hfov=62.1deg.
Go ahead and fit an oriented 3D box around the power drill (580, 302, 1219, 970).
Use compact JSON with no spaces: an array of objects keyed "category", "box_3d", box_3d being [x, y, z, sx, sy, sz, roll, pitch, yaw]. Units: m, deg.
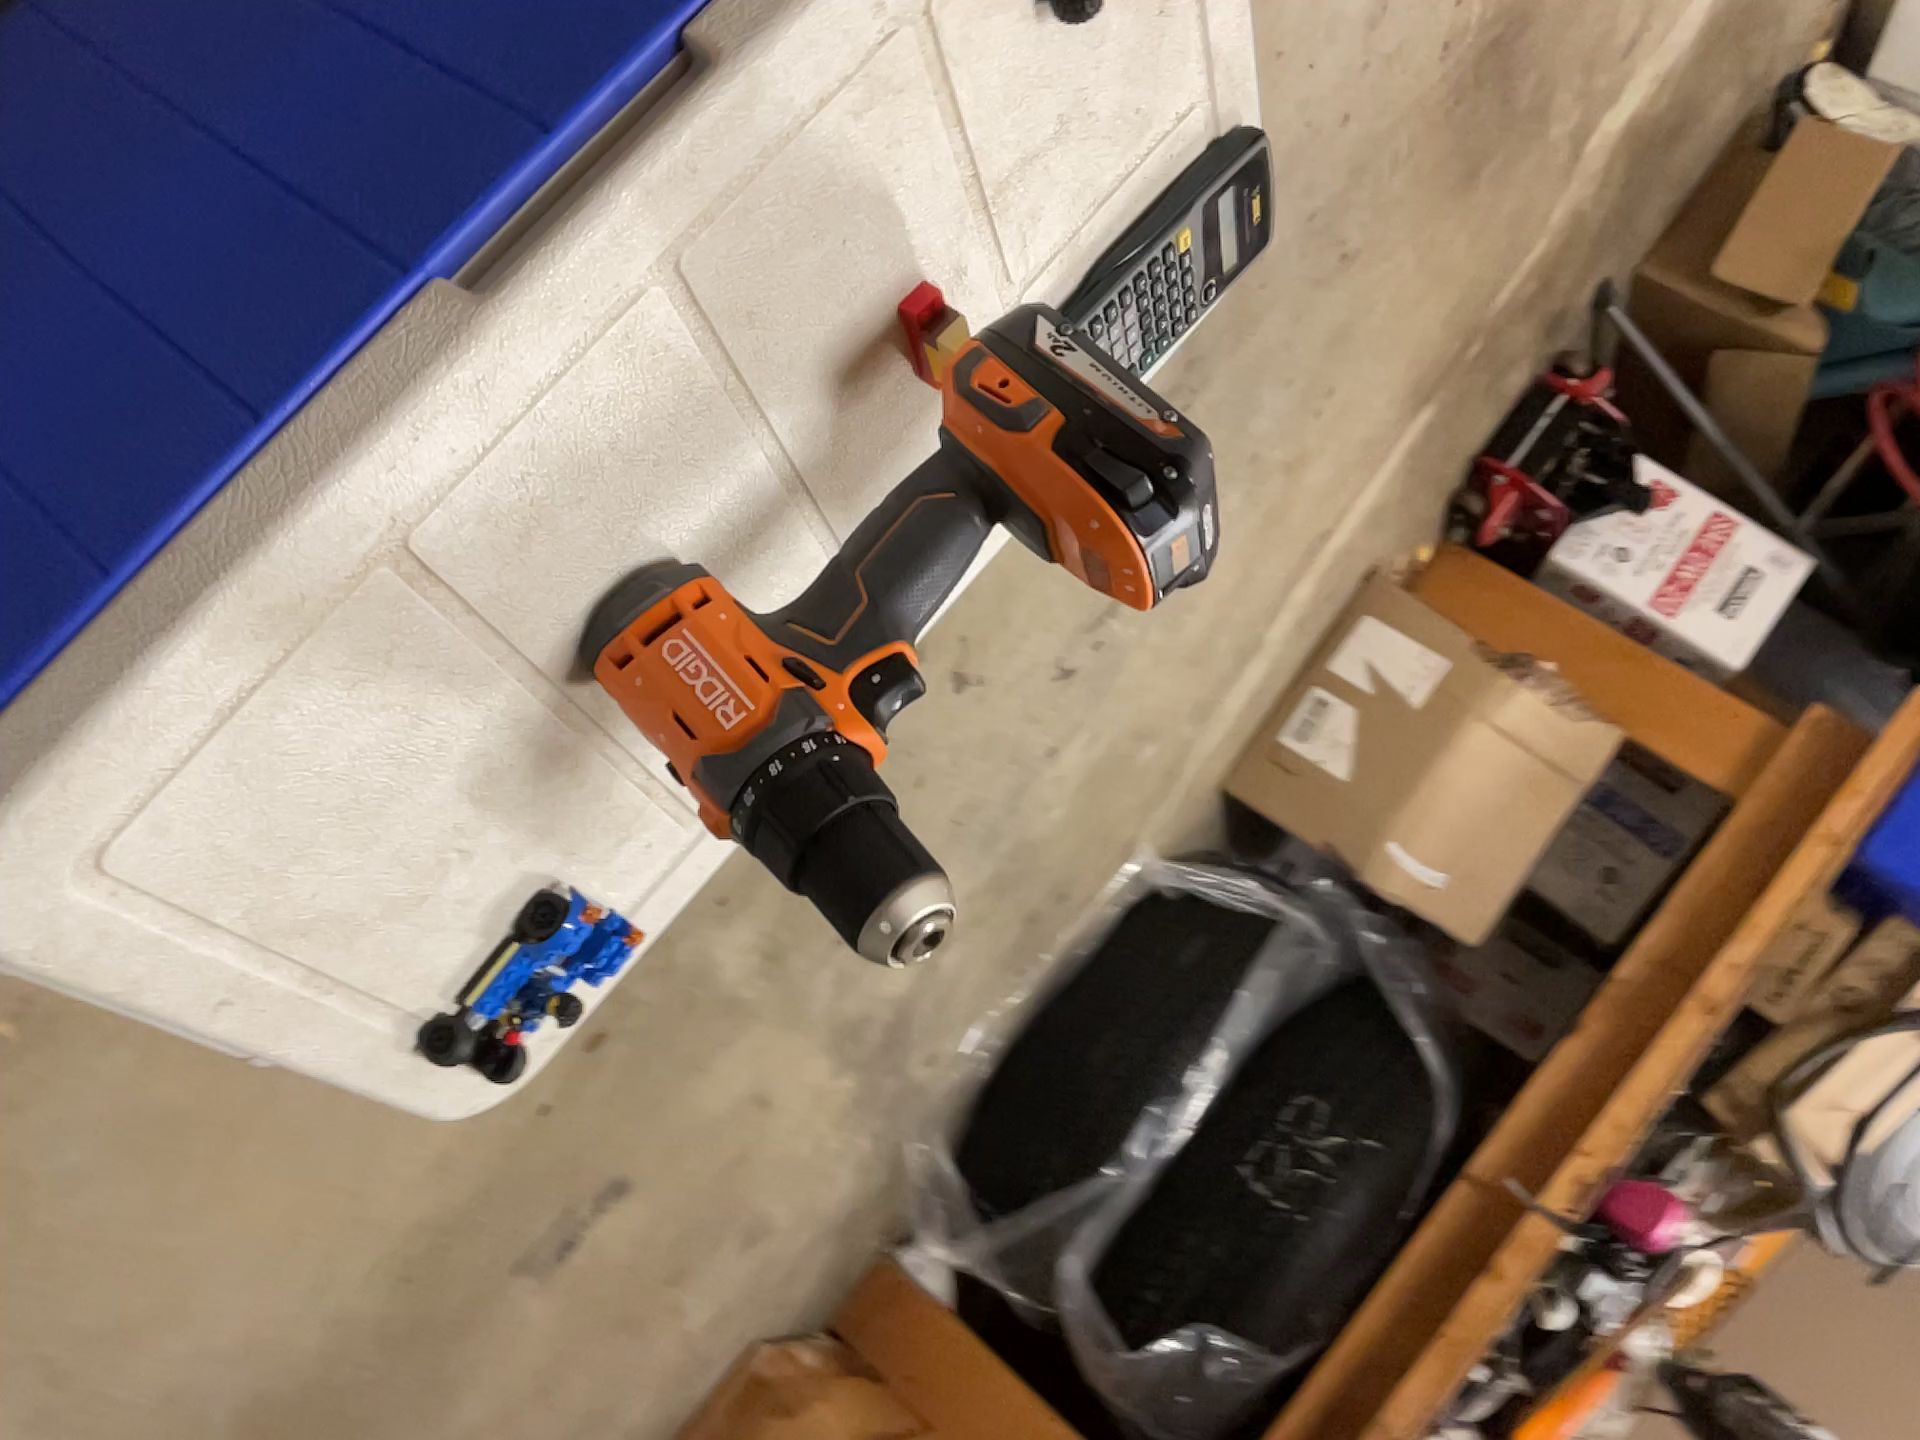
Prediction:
[{"category":"power drill","box_3d":[-0.006,-0.033,0.593,0.226,0.185,0.084,-39,151,-9]}]
